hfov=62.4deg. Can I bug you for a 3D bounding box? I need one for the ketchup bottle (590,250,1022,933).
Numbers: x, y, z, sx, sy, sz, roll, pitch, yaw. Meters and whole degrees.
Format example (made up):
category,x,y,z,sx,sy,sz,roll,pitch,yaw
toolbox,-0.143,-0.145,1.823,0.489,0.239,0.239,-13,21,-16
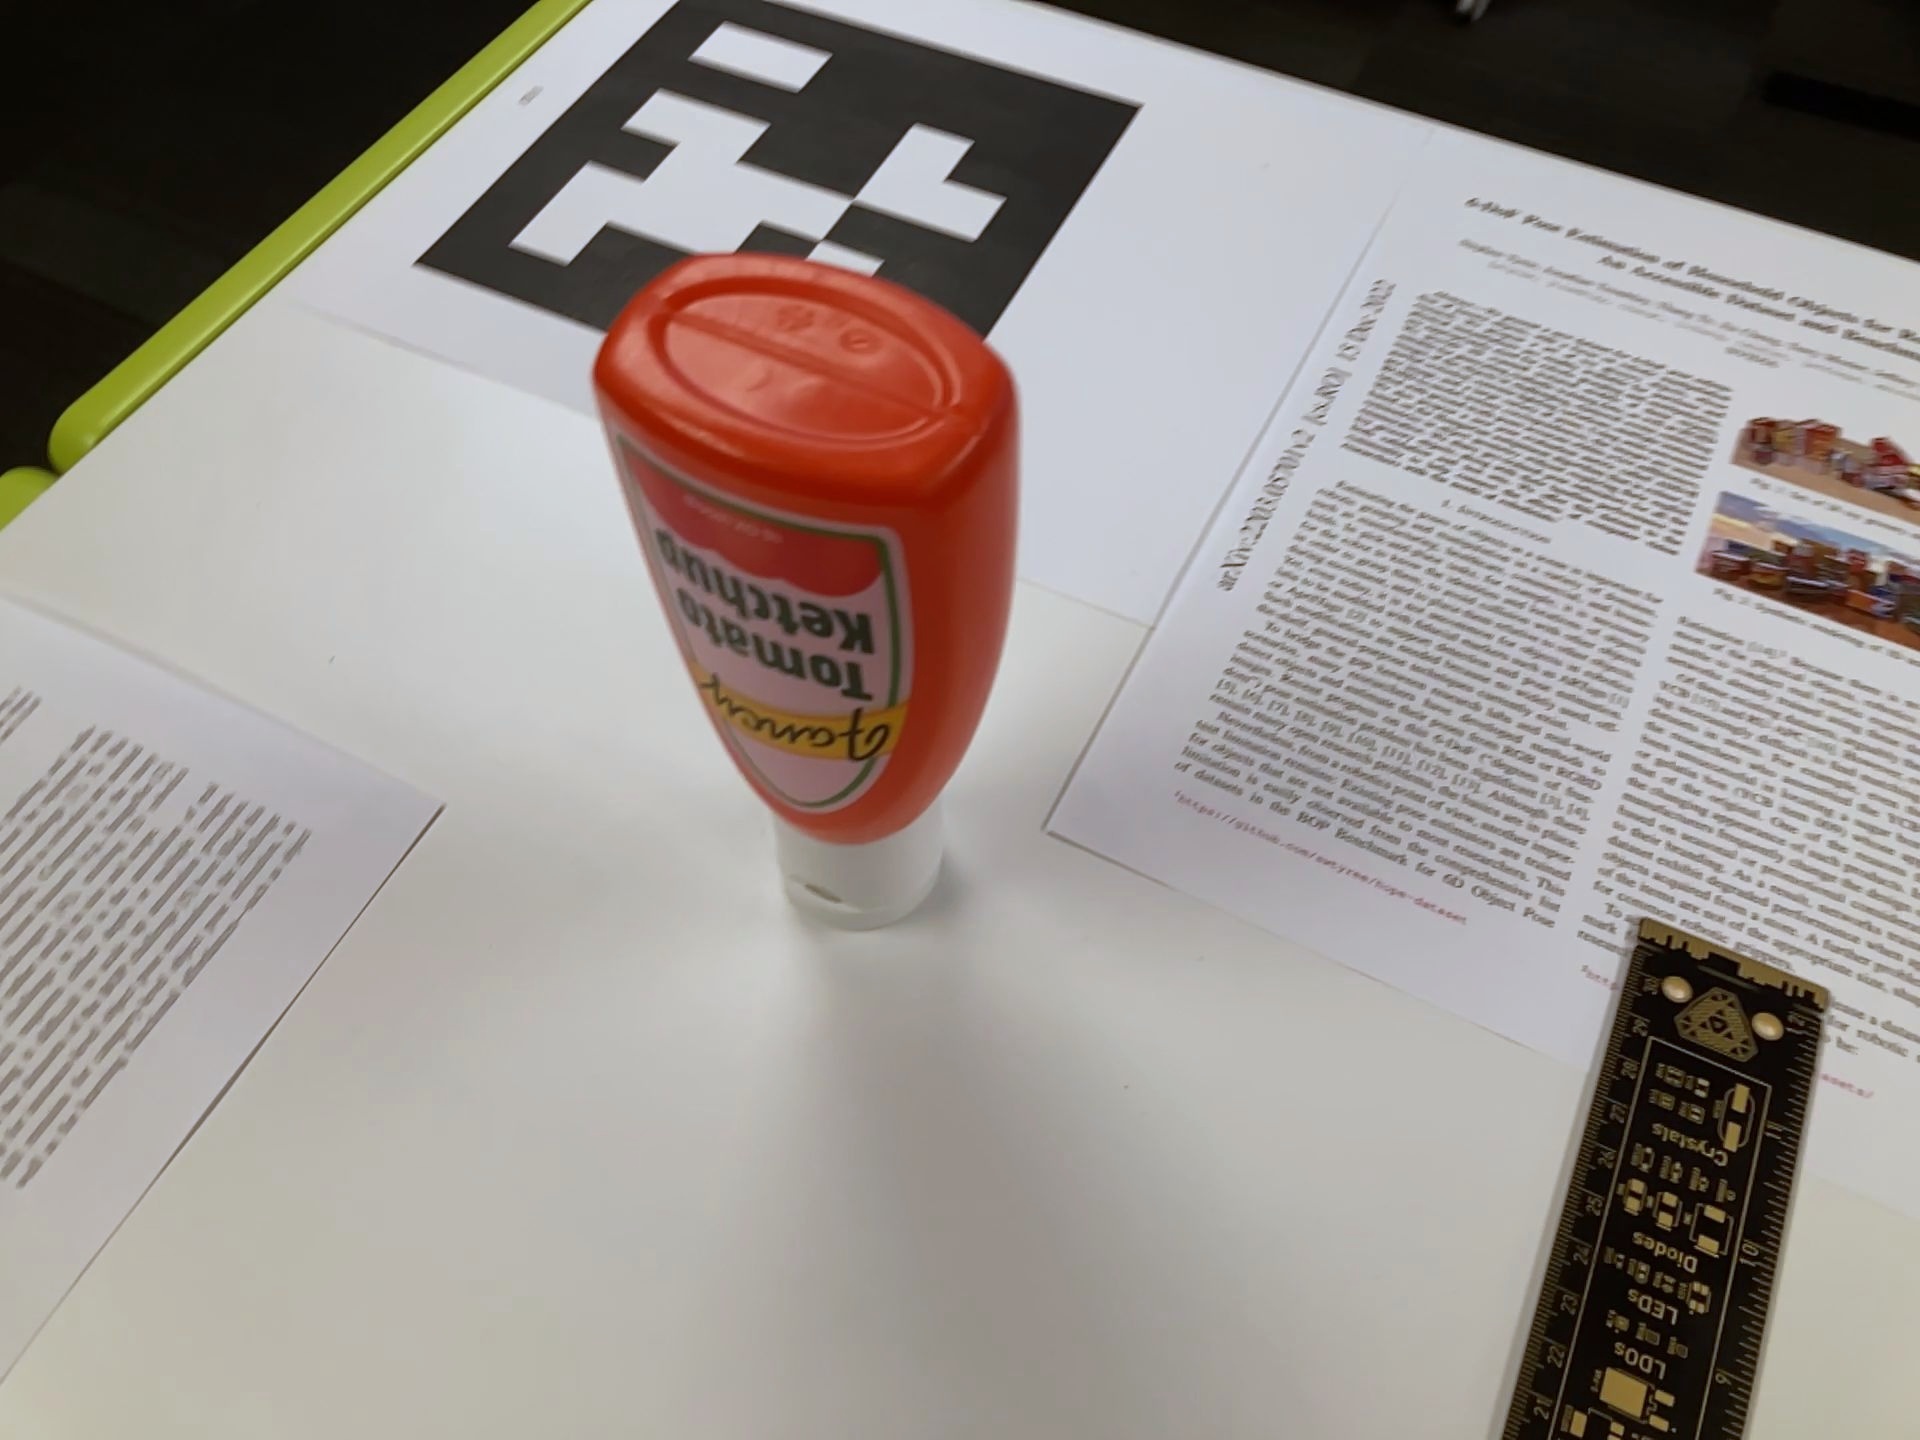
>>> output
category,x,y,z,sx,sy,sz,roll,pitch,yaw
ketchup bottle,-0.022,-0.011,0.286,0.065,0.149,0.043,23,59,15
